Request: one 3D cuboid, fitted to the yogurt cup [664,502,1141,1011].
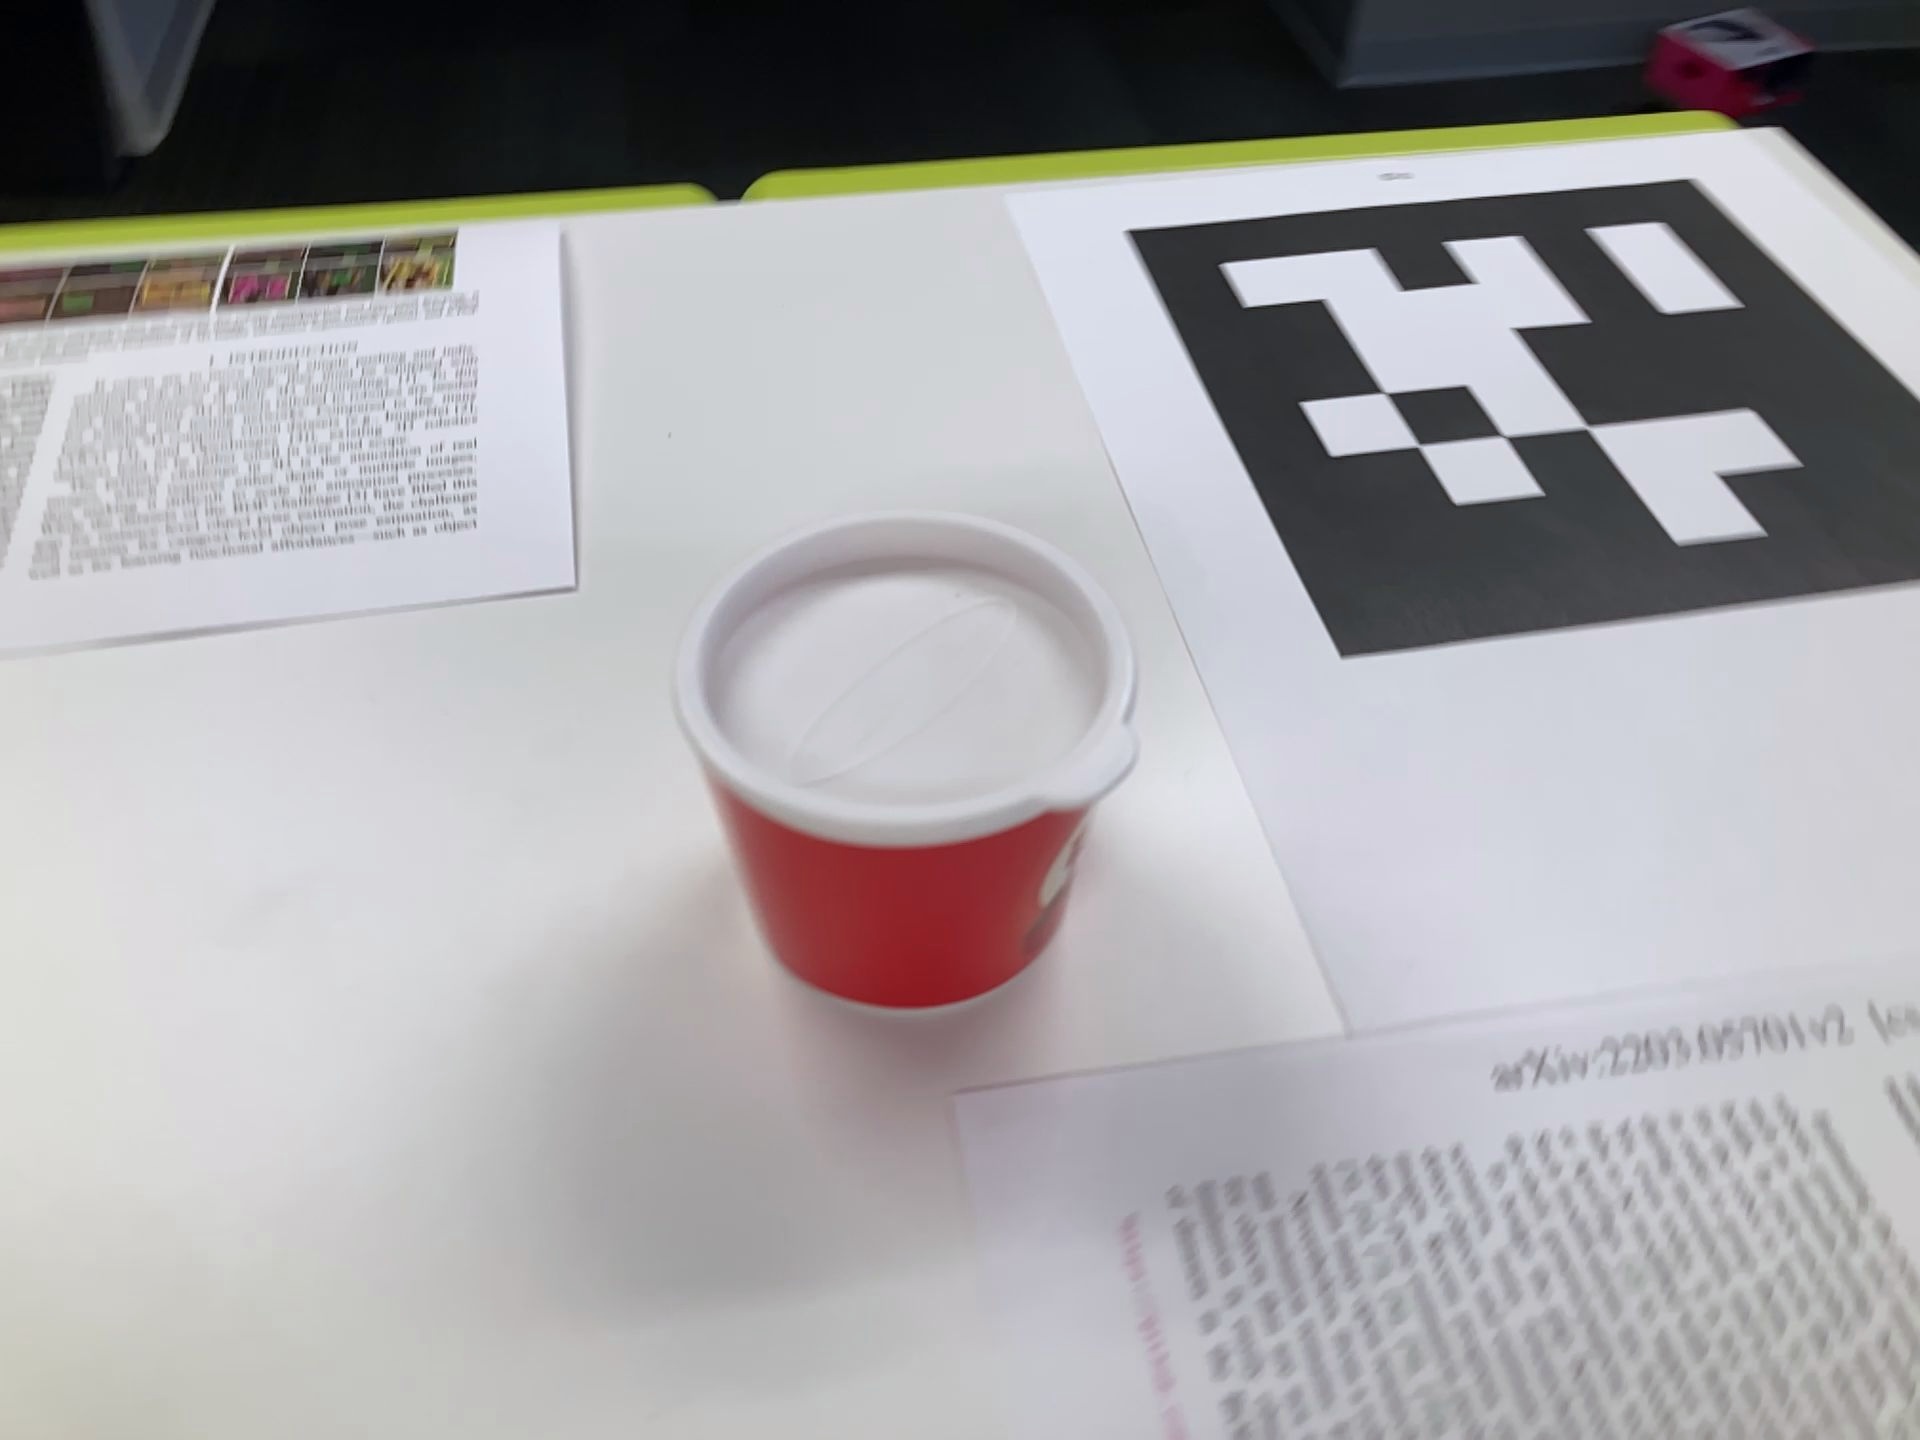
[{"bbox_3d":[-0.008,0.008,0.245,0.072,0.054,0.072,0,46,0],"label":"yogurt cup"}]
